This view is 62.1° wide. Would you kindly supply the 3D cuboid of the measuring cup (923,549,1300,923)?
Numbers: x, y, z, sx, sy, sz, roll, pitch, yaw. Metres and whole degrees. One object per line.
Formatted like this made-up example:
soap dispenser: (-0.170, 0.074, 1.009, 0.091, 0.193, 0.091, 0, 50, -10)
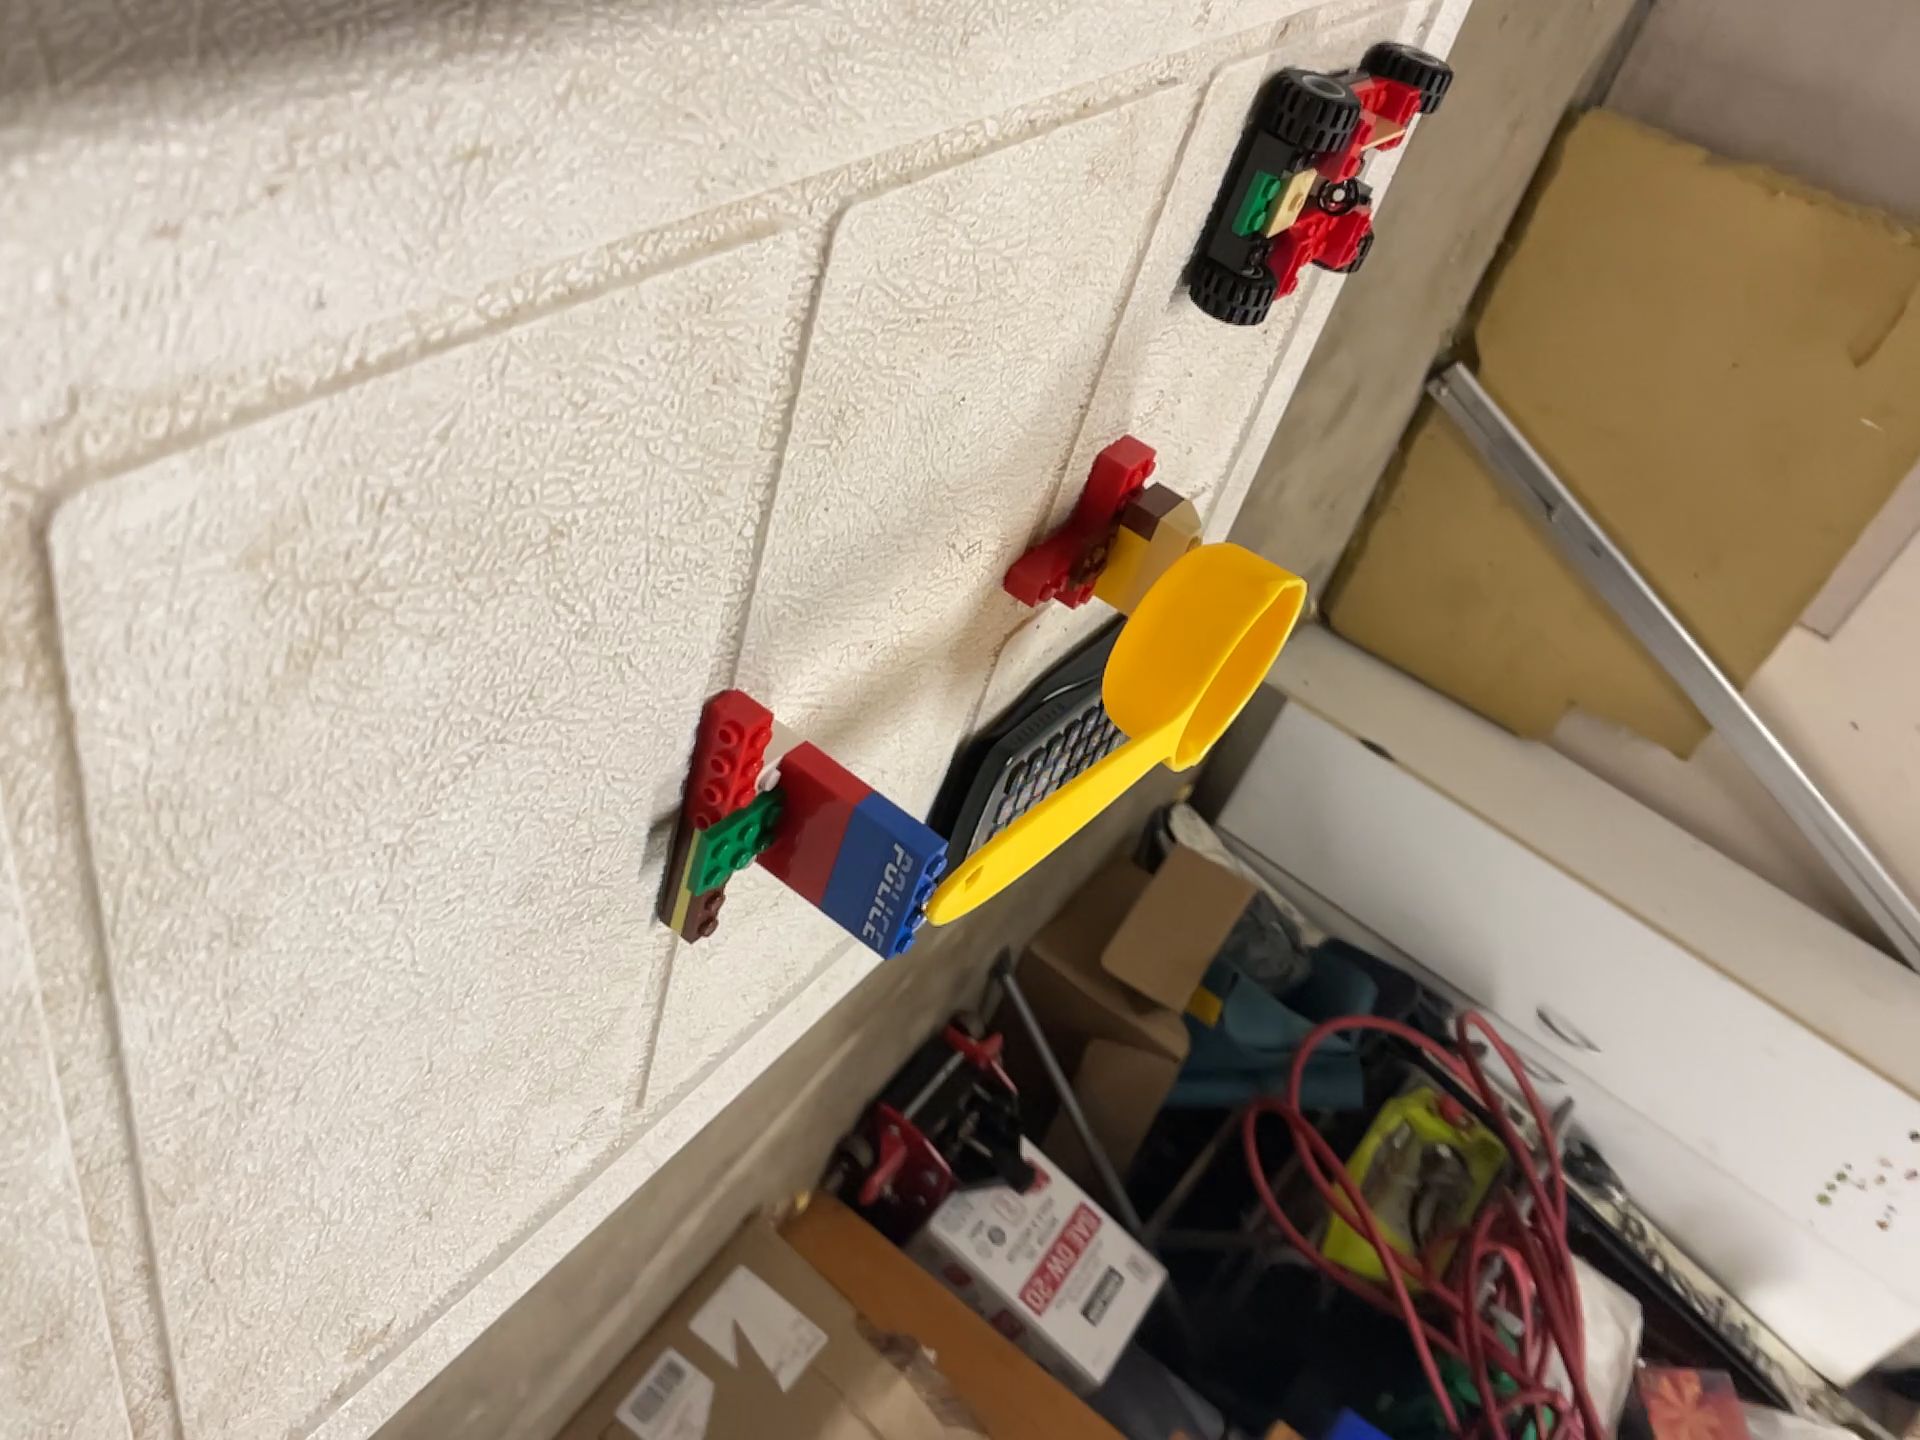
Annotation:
measuring cup: (0.033, 0.001, 0.392, 0.157, 0.029, 0.062, -34, 153, -43)
